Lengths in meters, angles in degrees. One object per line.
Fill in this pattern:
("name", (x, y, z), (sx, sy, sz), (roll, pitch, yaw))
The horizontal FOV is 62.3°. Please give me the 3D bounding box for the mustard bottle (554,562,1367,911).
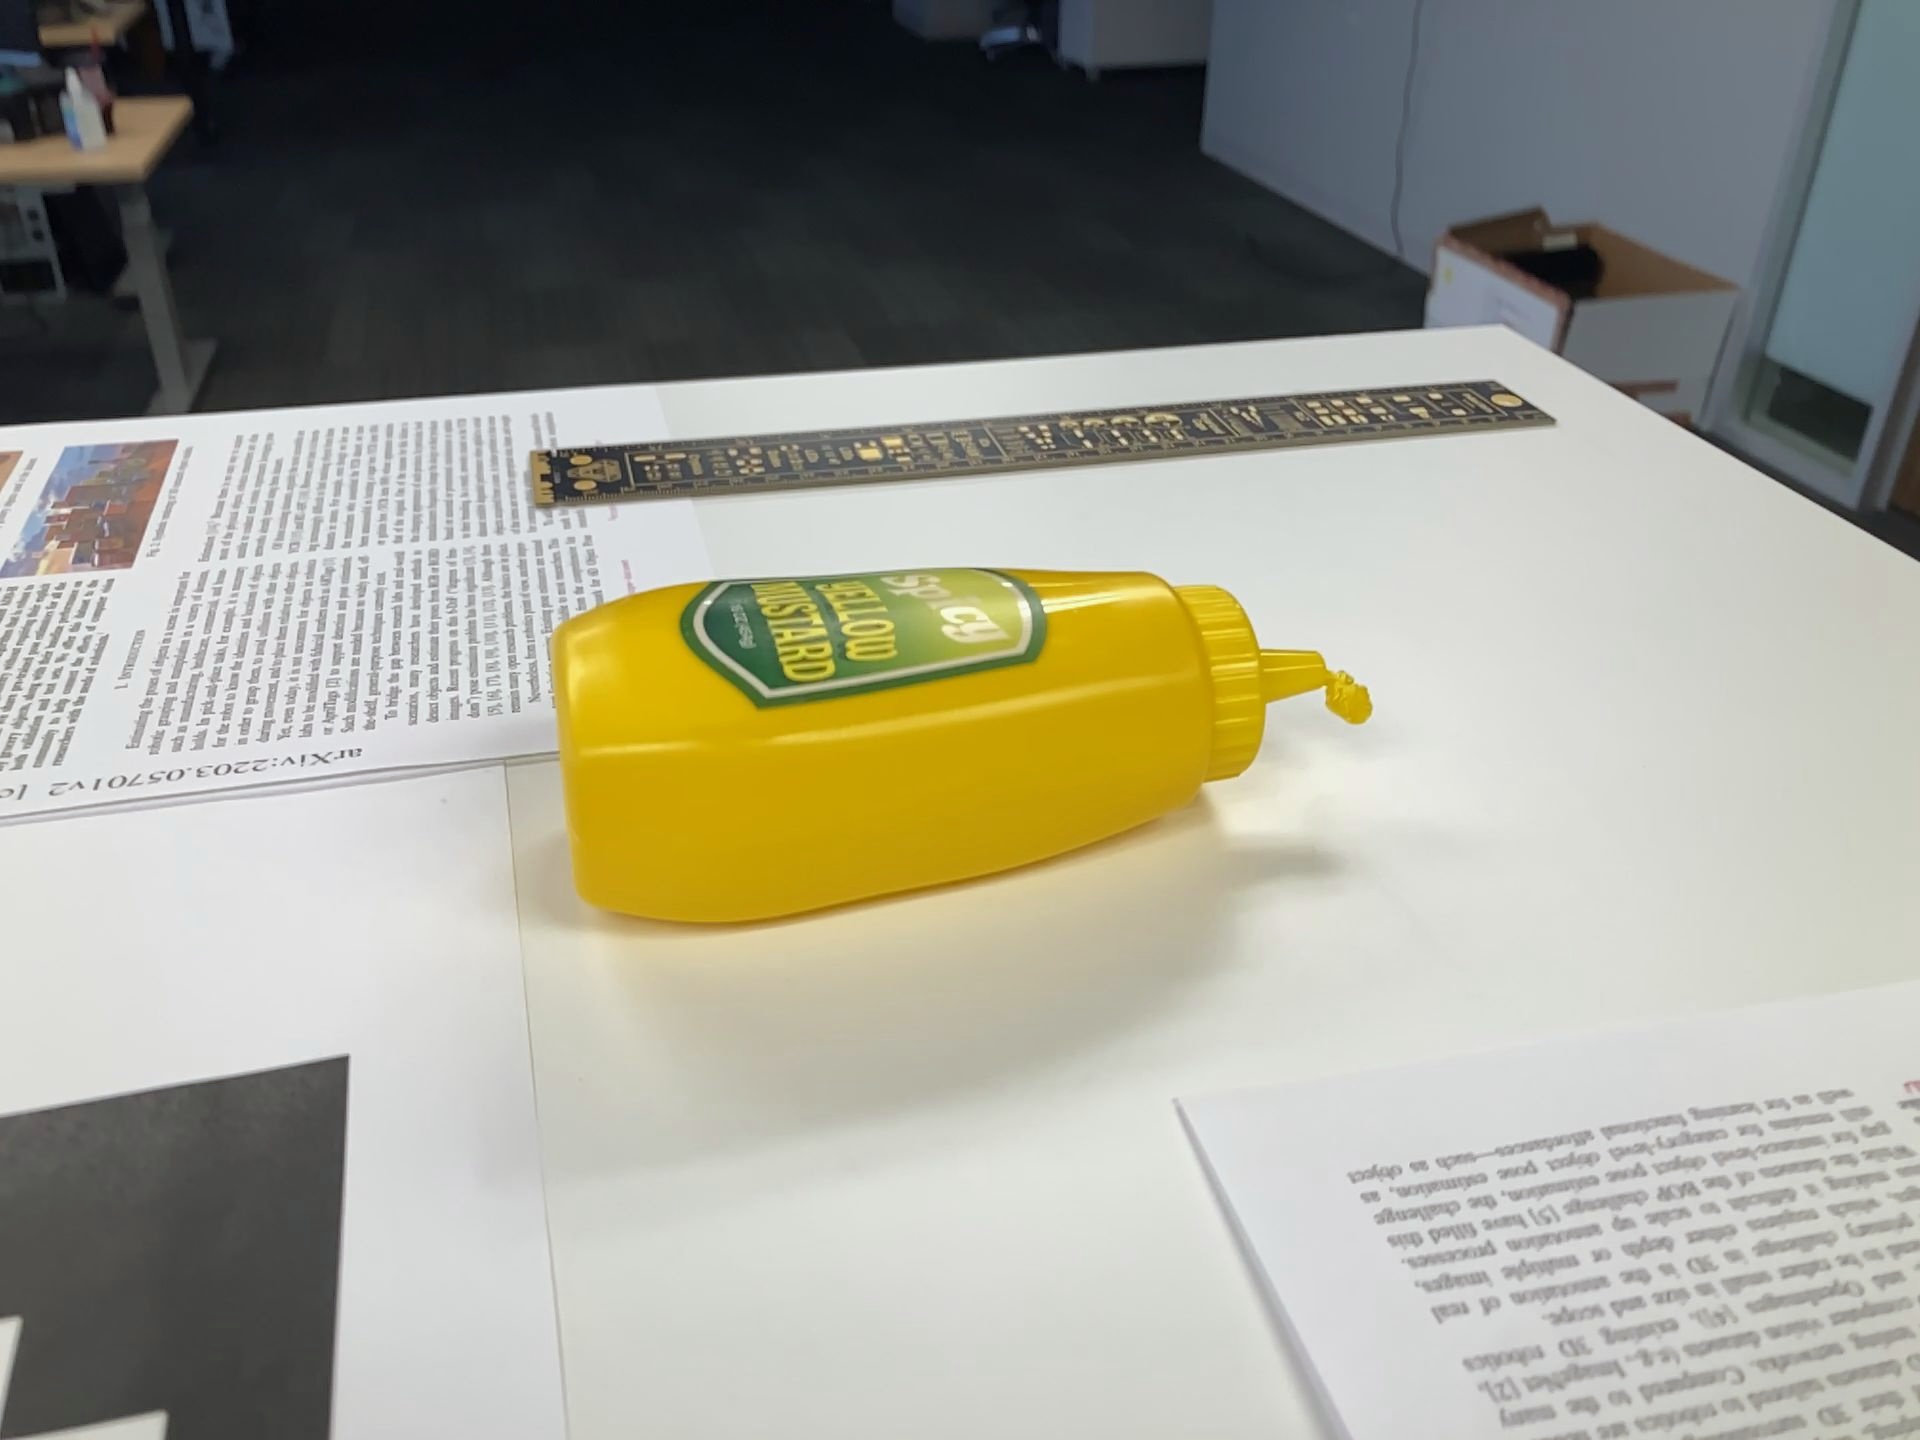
("mustard bottle", (0.005, -0.004, 0.306), (0.160, 0.049, 0.065), (-7, 33, -15))
